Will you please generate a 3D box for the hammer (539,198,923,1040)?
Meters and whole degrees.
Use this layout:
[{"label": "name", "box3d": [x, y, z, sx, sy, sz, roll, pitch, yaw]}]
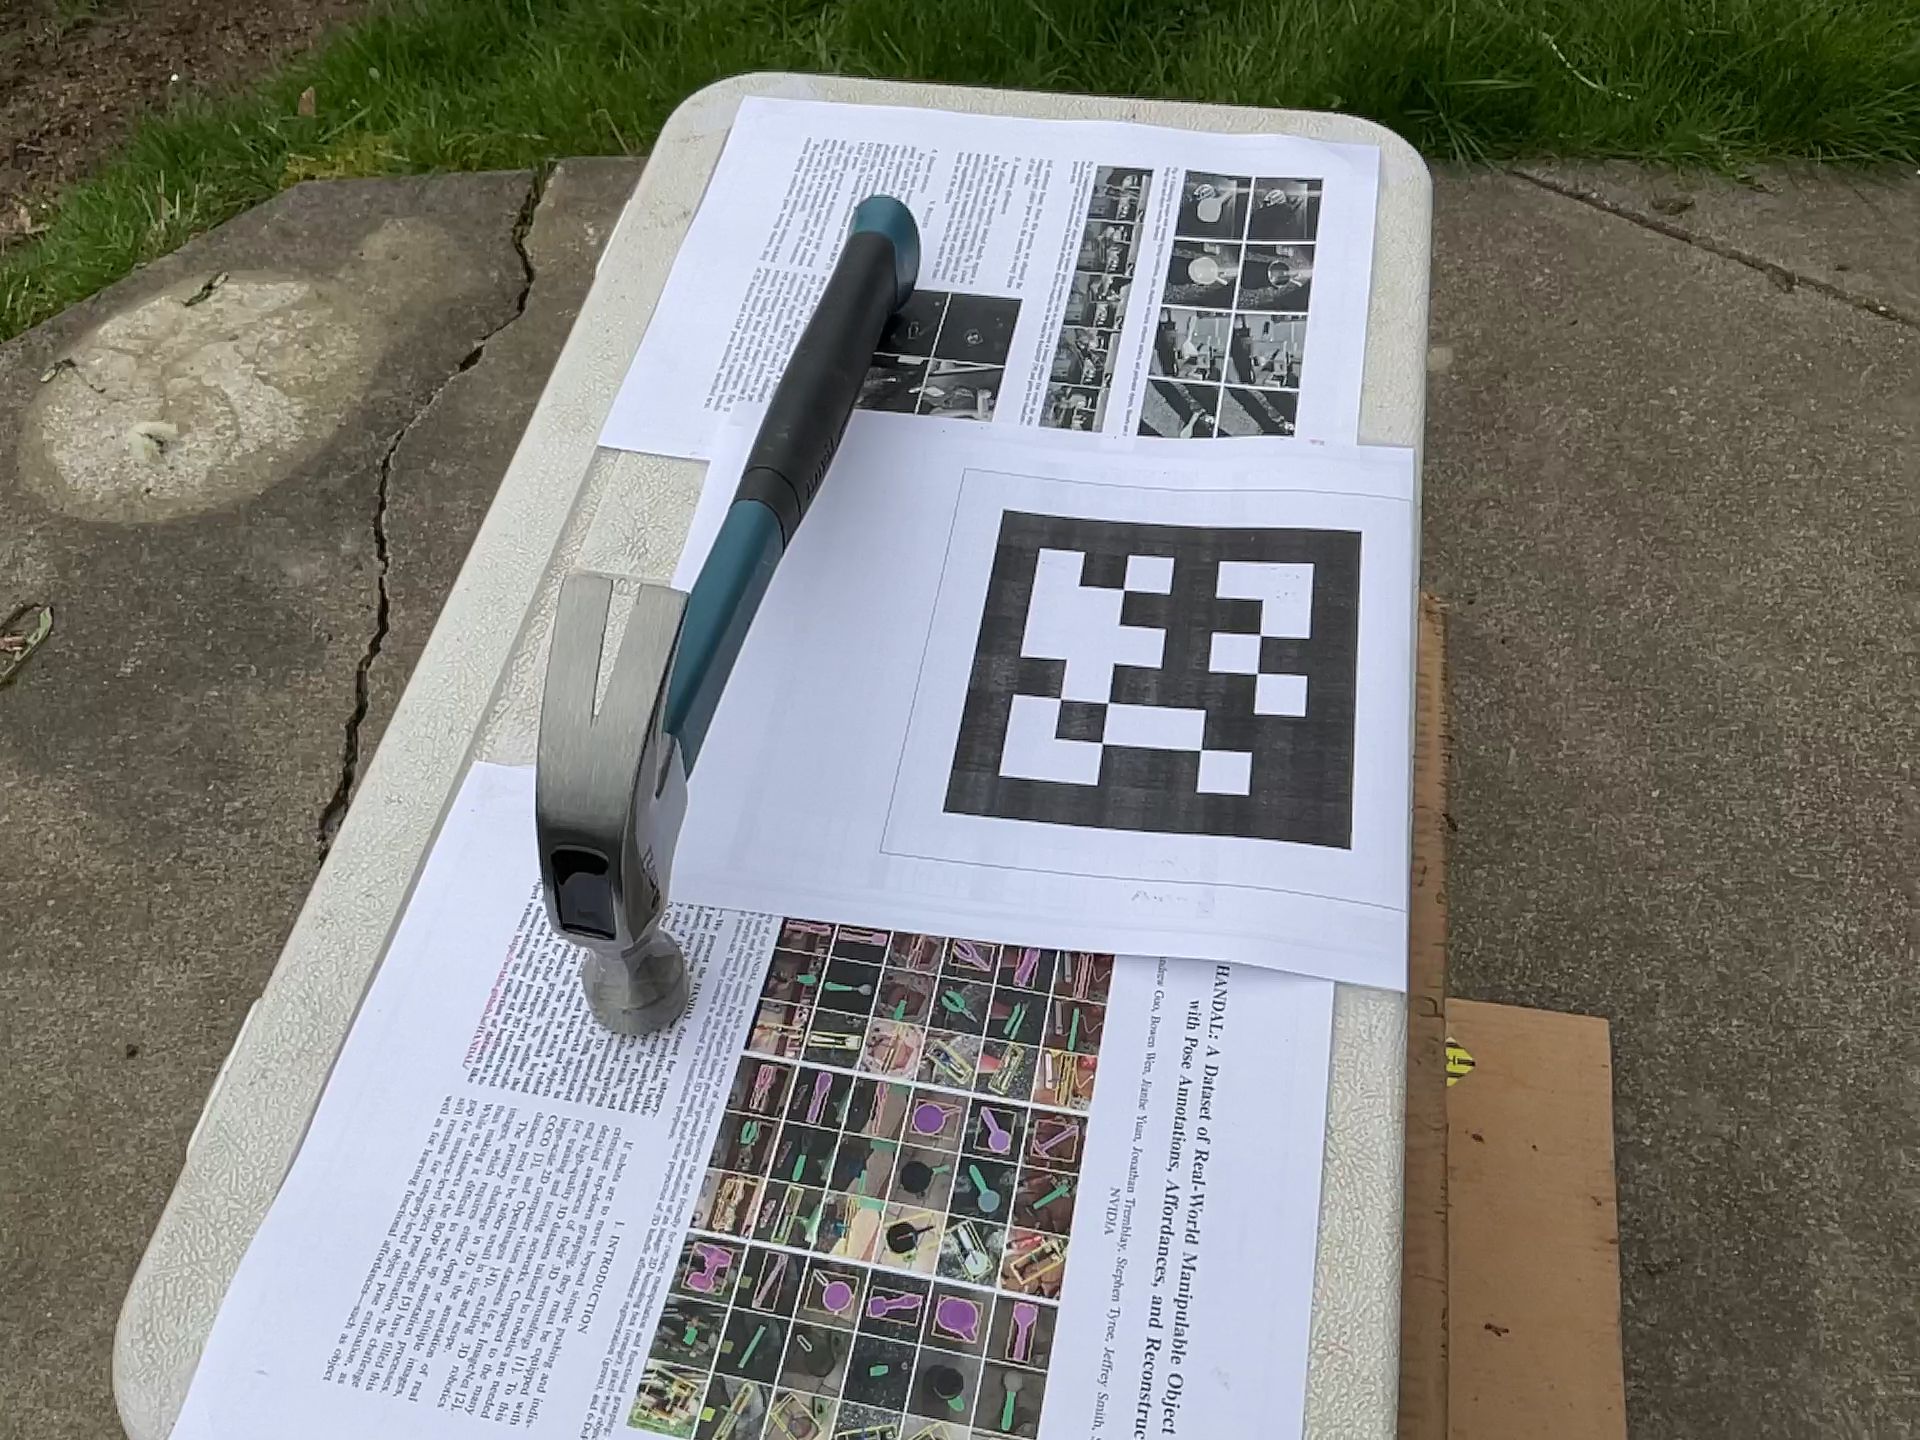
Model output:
[{"label": "hammer", "box3d": [-0.063, -0.069, 0.523, 0.033, 0.128, 0.331, 9, 48, 7]}]
